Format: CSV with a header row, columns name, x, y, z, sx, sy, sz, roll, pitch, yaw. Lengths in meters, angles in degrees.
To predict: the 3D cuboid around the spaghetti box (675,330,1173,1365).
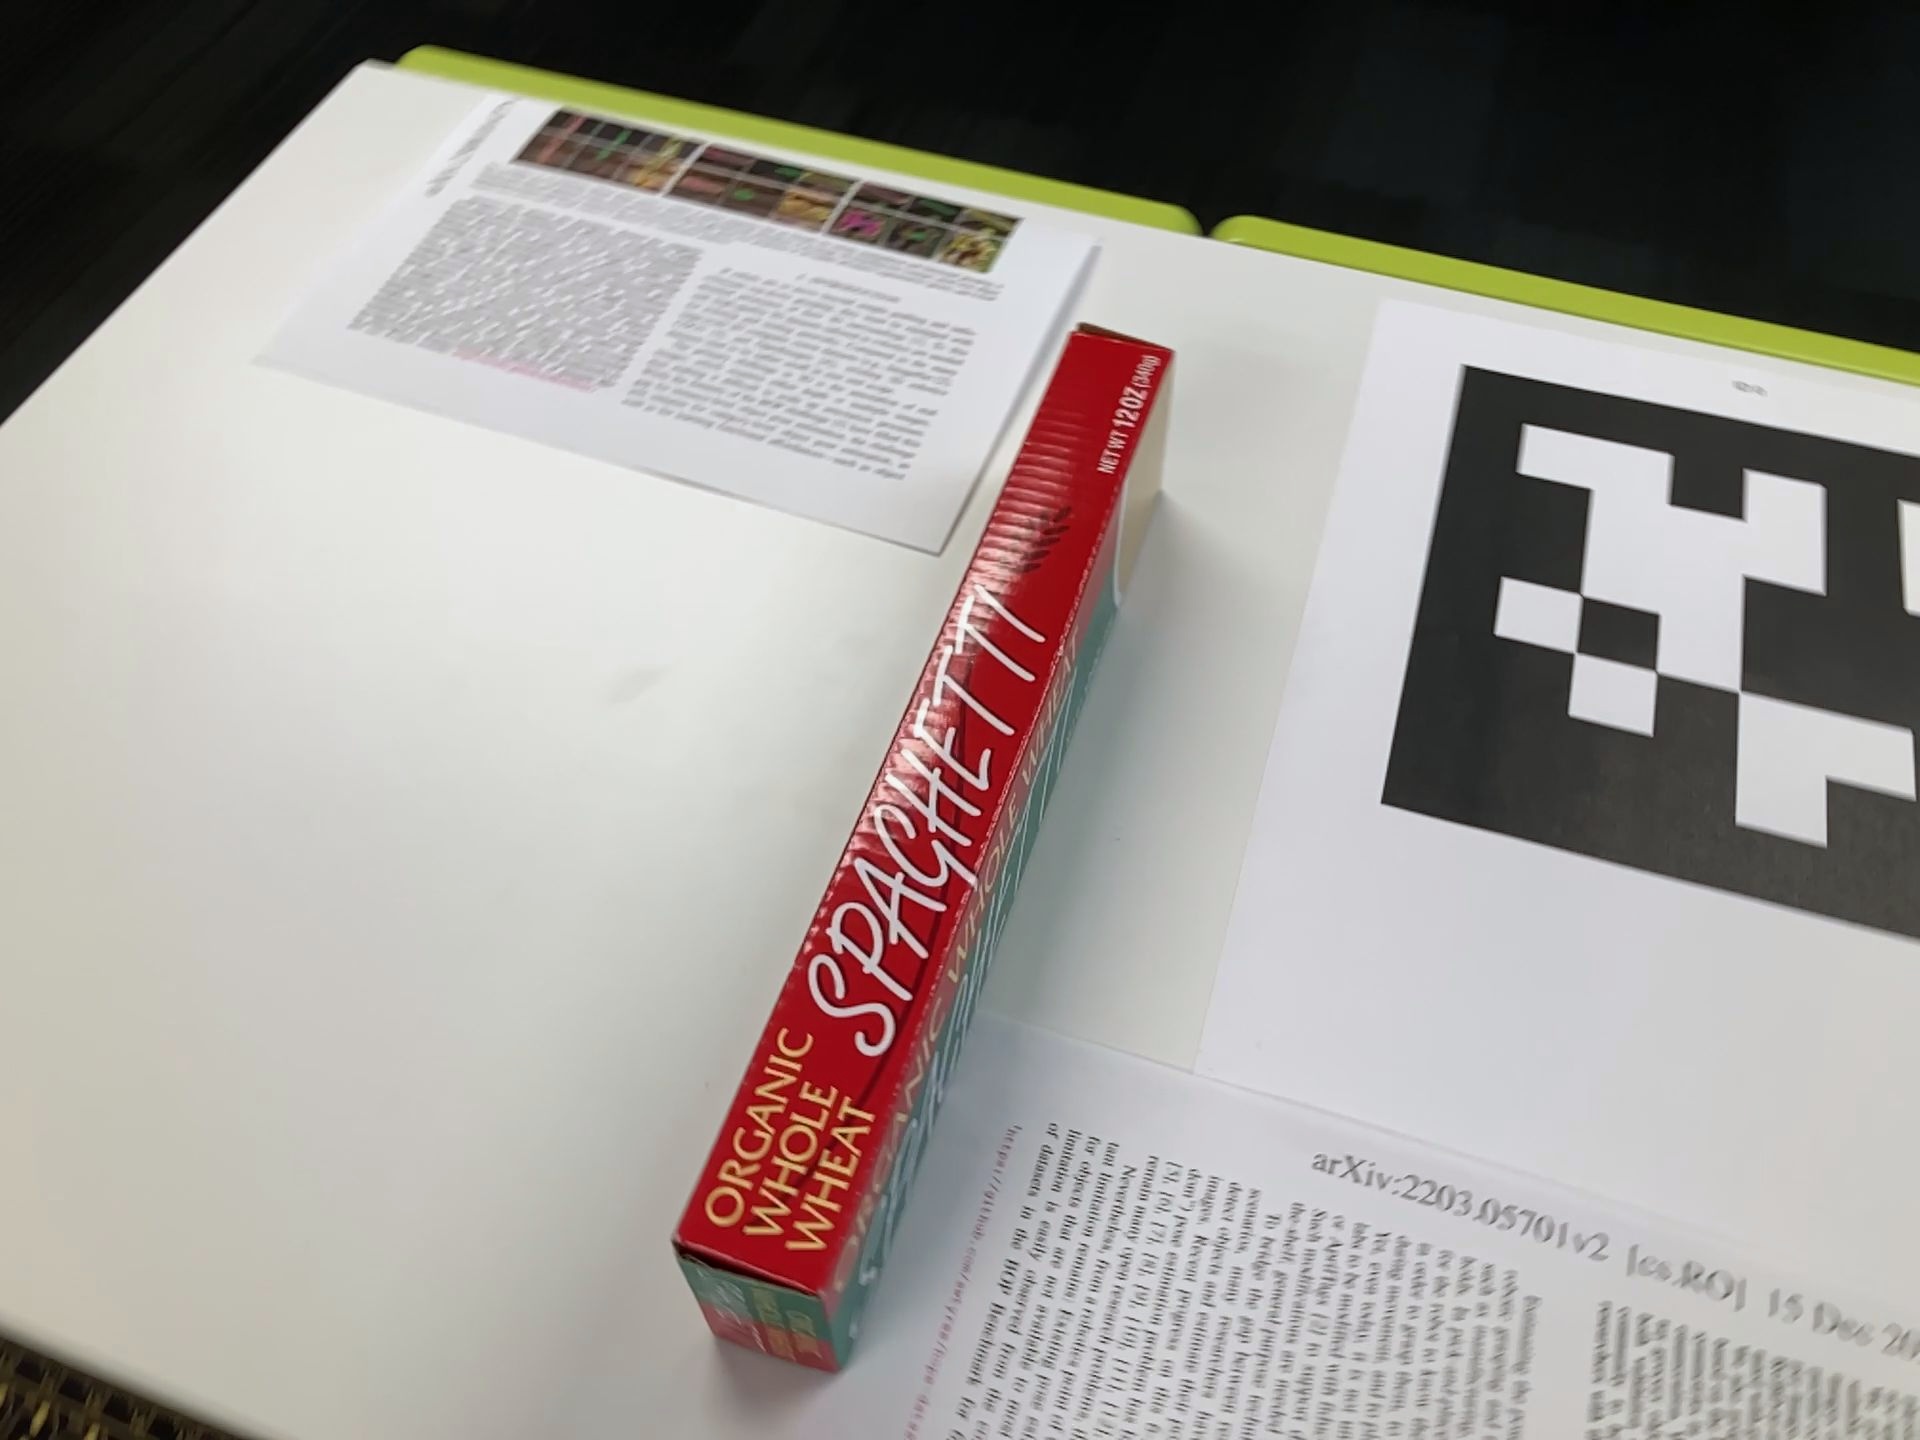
name,x,y,z,sx,sy,sz,roll,pitch,yaw
spaghetti box,0.003,0.013,0.354,0.028,0.050,0.250,14,55,12
